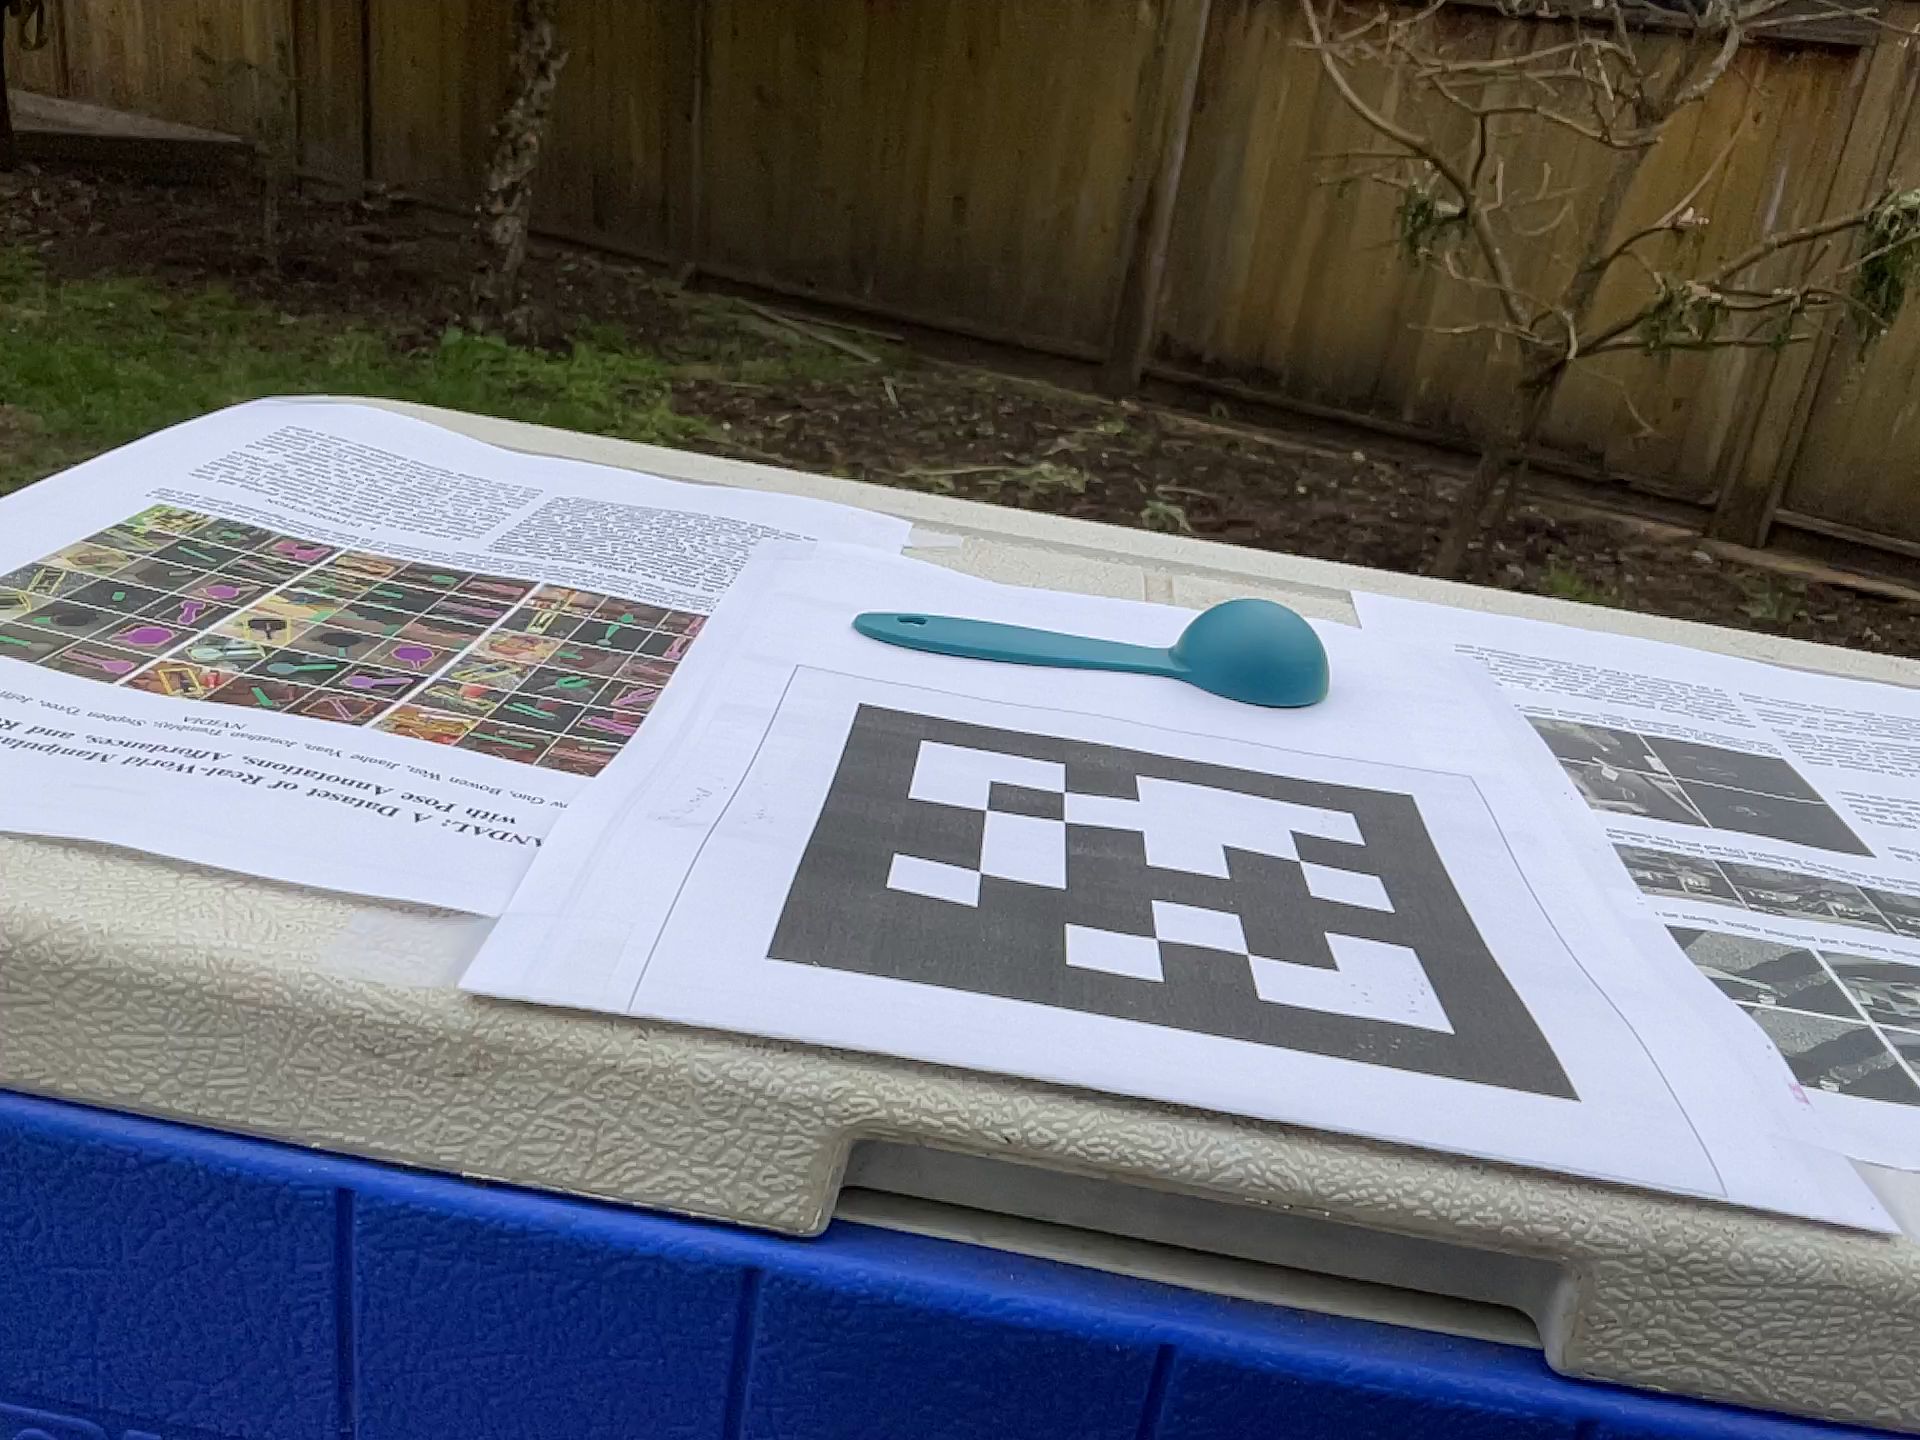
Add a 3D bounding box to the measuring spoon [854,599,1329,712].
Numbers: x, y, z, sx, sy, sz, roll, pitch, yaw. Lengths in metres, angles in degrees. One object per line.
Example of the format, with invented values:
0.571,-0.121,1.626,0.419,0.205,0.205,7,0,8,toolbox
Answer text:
0.037,-0.025,0.424,0.128,0.021,0.042,6,28,-7,measuring spoon
